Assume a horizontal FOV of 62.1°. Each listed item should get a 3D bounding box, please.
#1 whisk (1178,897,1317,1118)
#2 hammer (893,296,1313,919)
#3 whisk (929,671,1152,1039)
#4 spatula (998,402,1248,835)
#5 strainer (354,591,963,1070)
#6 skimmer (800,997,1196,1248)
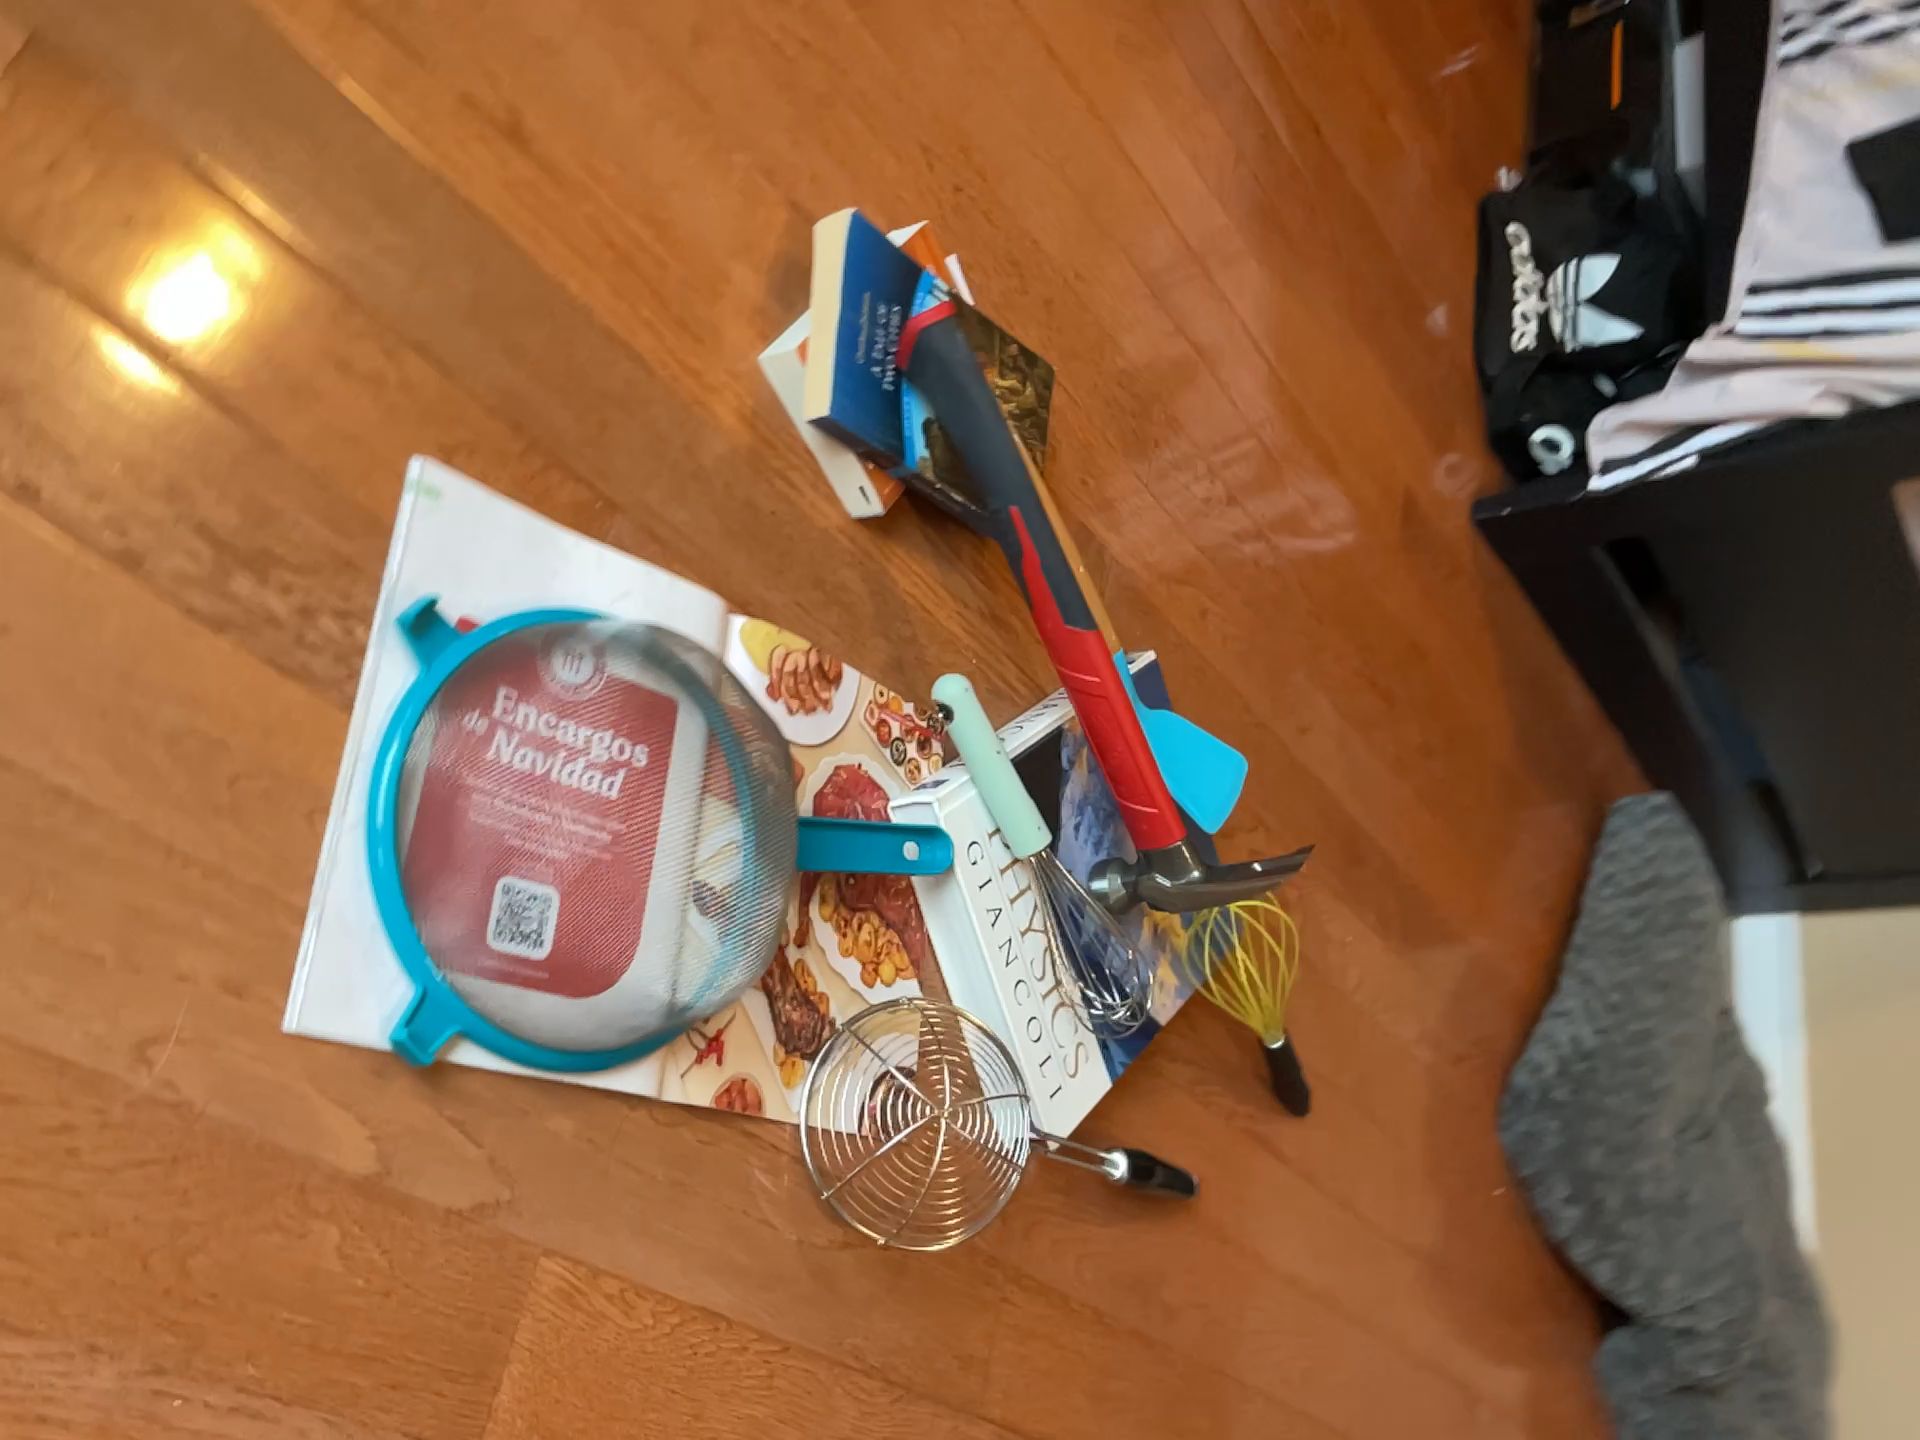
[{"bbox_3d":[0.215,0.211,1.126,0.311,0.067,0.080,60,23,-45],"label":"whisk"},{"bbox_3d":[0.071,-0.062,0.918,0.038,0.143,0.386,-43,112,-52],"label":"hammer"},{"bbox_3d":[0.045,0.079,0.920,0.059,0.057,0.246,-32,105,-19],"label":"whisk"},{"bbox_3d":[0.094,-0.069,1.014,0.317,0.044,0.082,60,43,-23],"label":"spatula"},{"bbox_3d":[-0.098,0.050,0.739,0.340,0.095,0.211,8,75,-44],"label":"strainer"},{"bbox_3d":[0.040,0.253,0.939,0.363,0.090,0.127,37,51,-55],"label":"skimmer"}]
